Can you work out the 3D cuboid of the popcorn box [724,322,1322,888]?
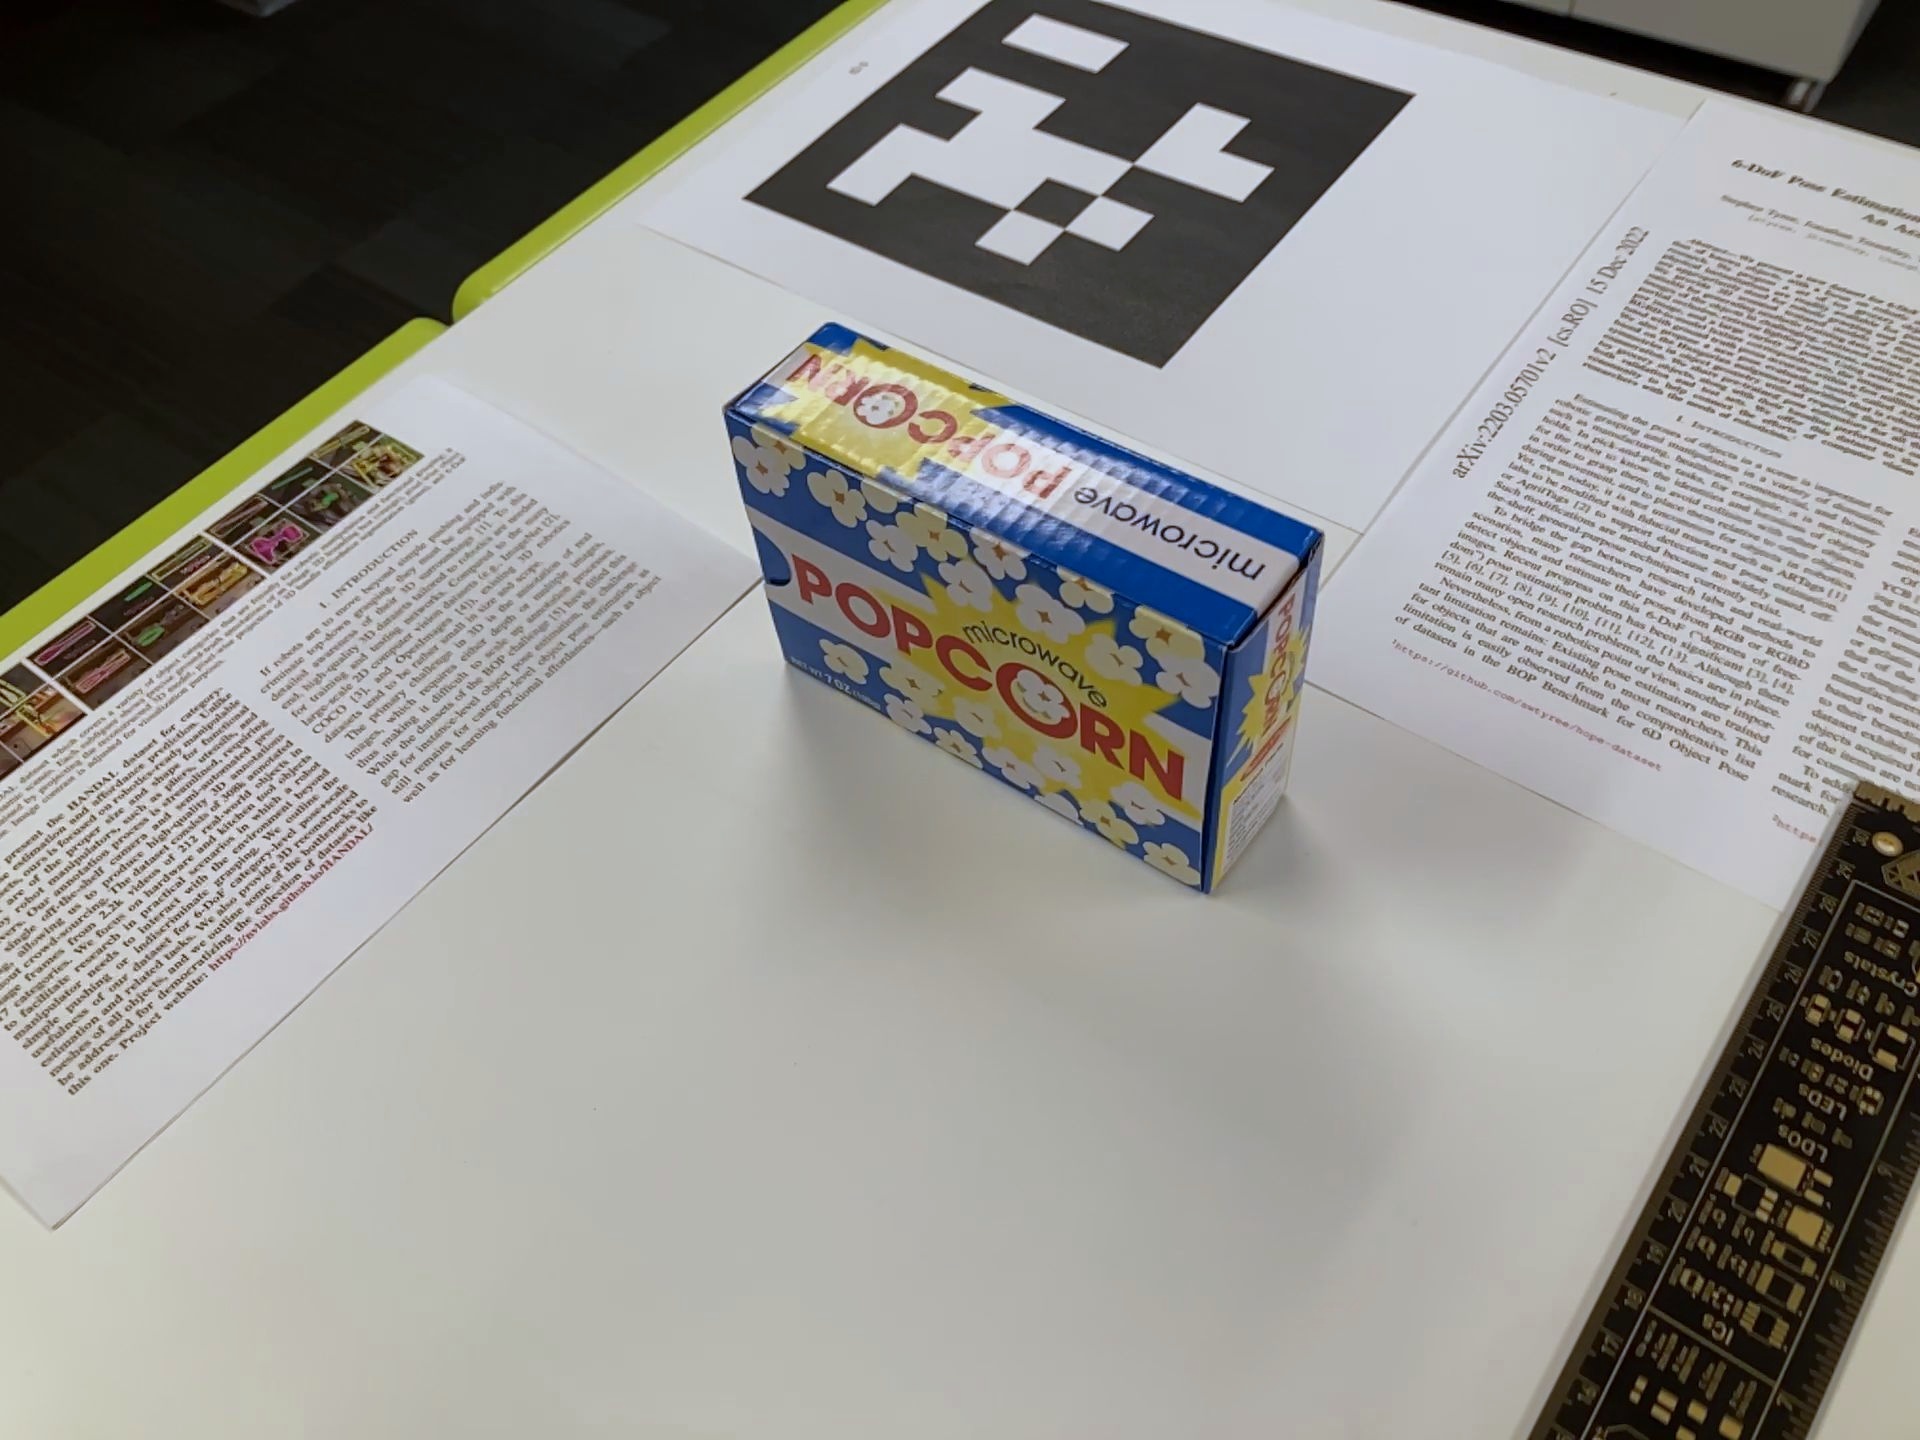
[{"bbox_3d":[0.013,-0.026,0.353,0.126,0.085,0.038,29,60,24],"label":"popcorn box"}]
